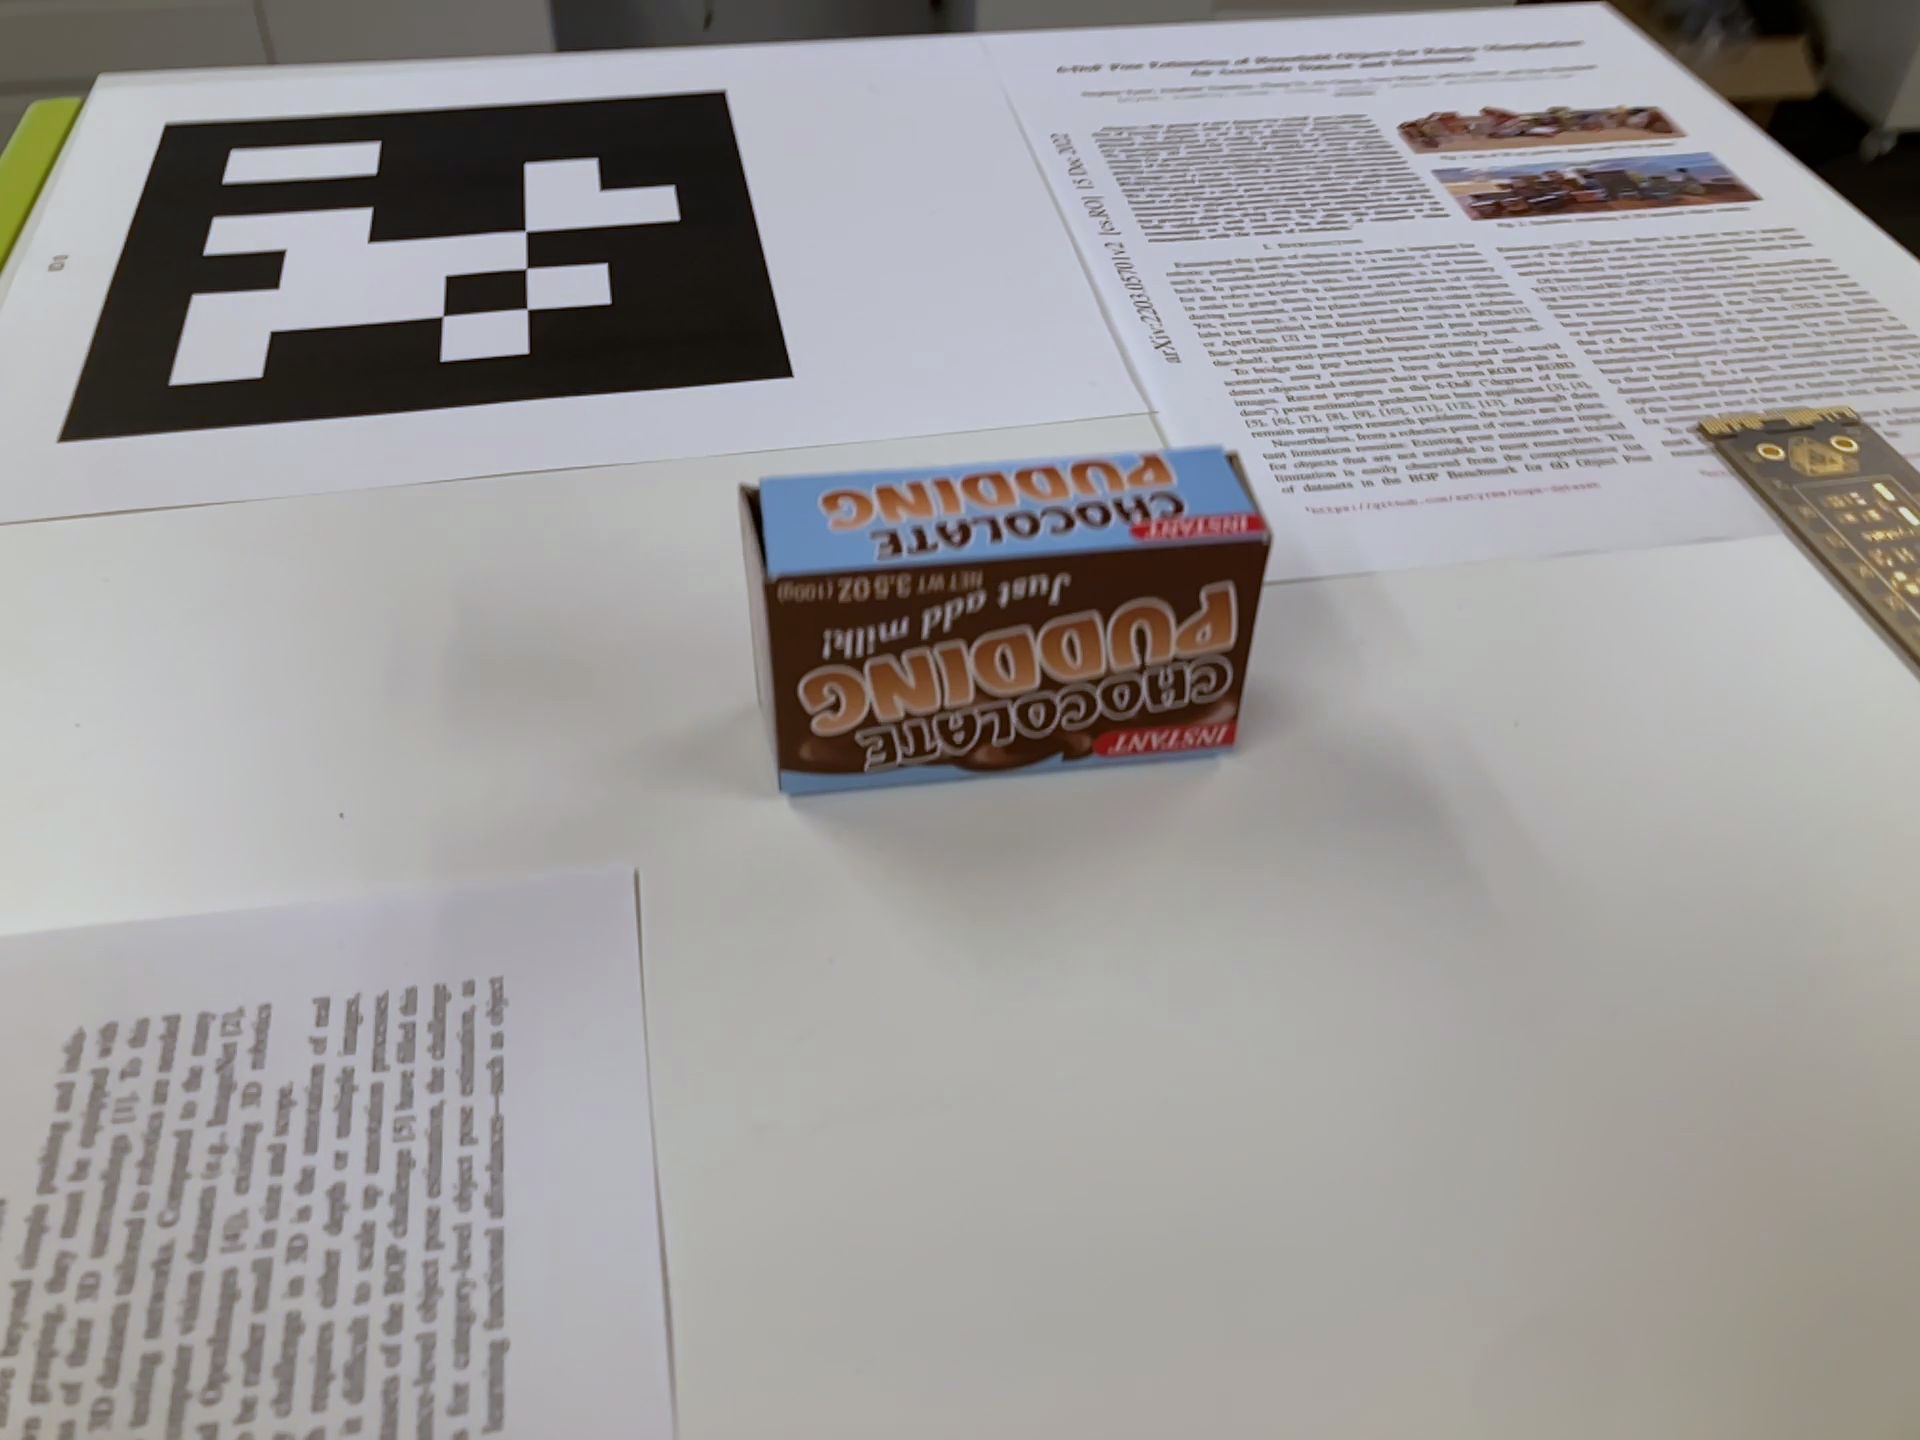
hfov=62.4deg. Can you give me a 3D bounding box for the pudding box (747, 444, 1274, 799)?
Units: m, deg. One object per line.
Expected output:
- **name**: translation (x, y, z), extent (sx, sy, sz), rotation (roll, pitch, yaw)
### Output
- **pudding box**: translation (0.007, -0.017, 0.274), extent (0.083, 0.049, 0.030), rotation (-5, 43, -7)
